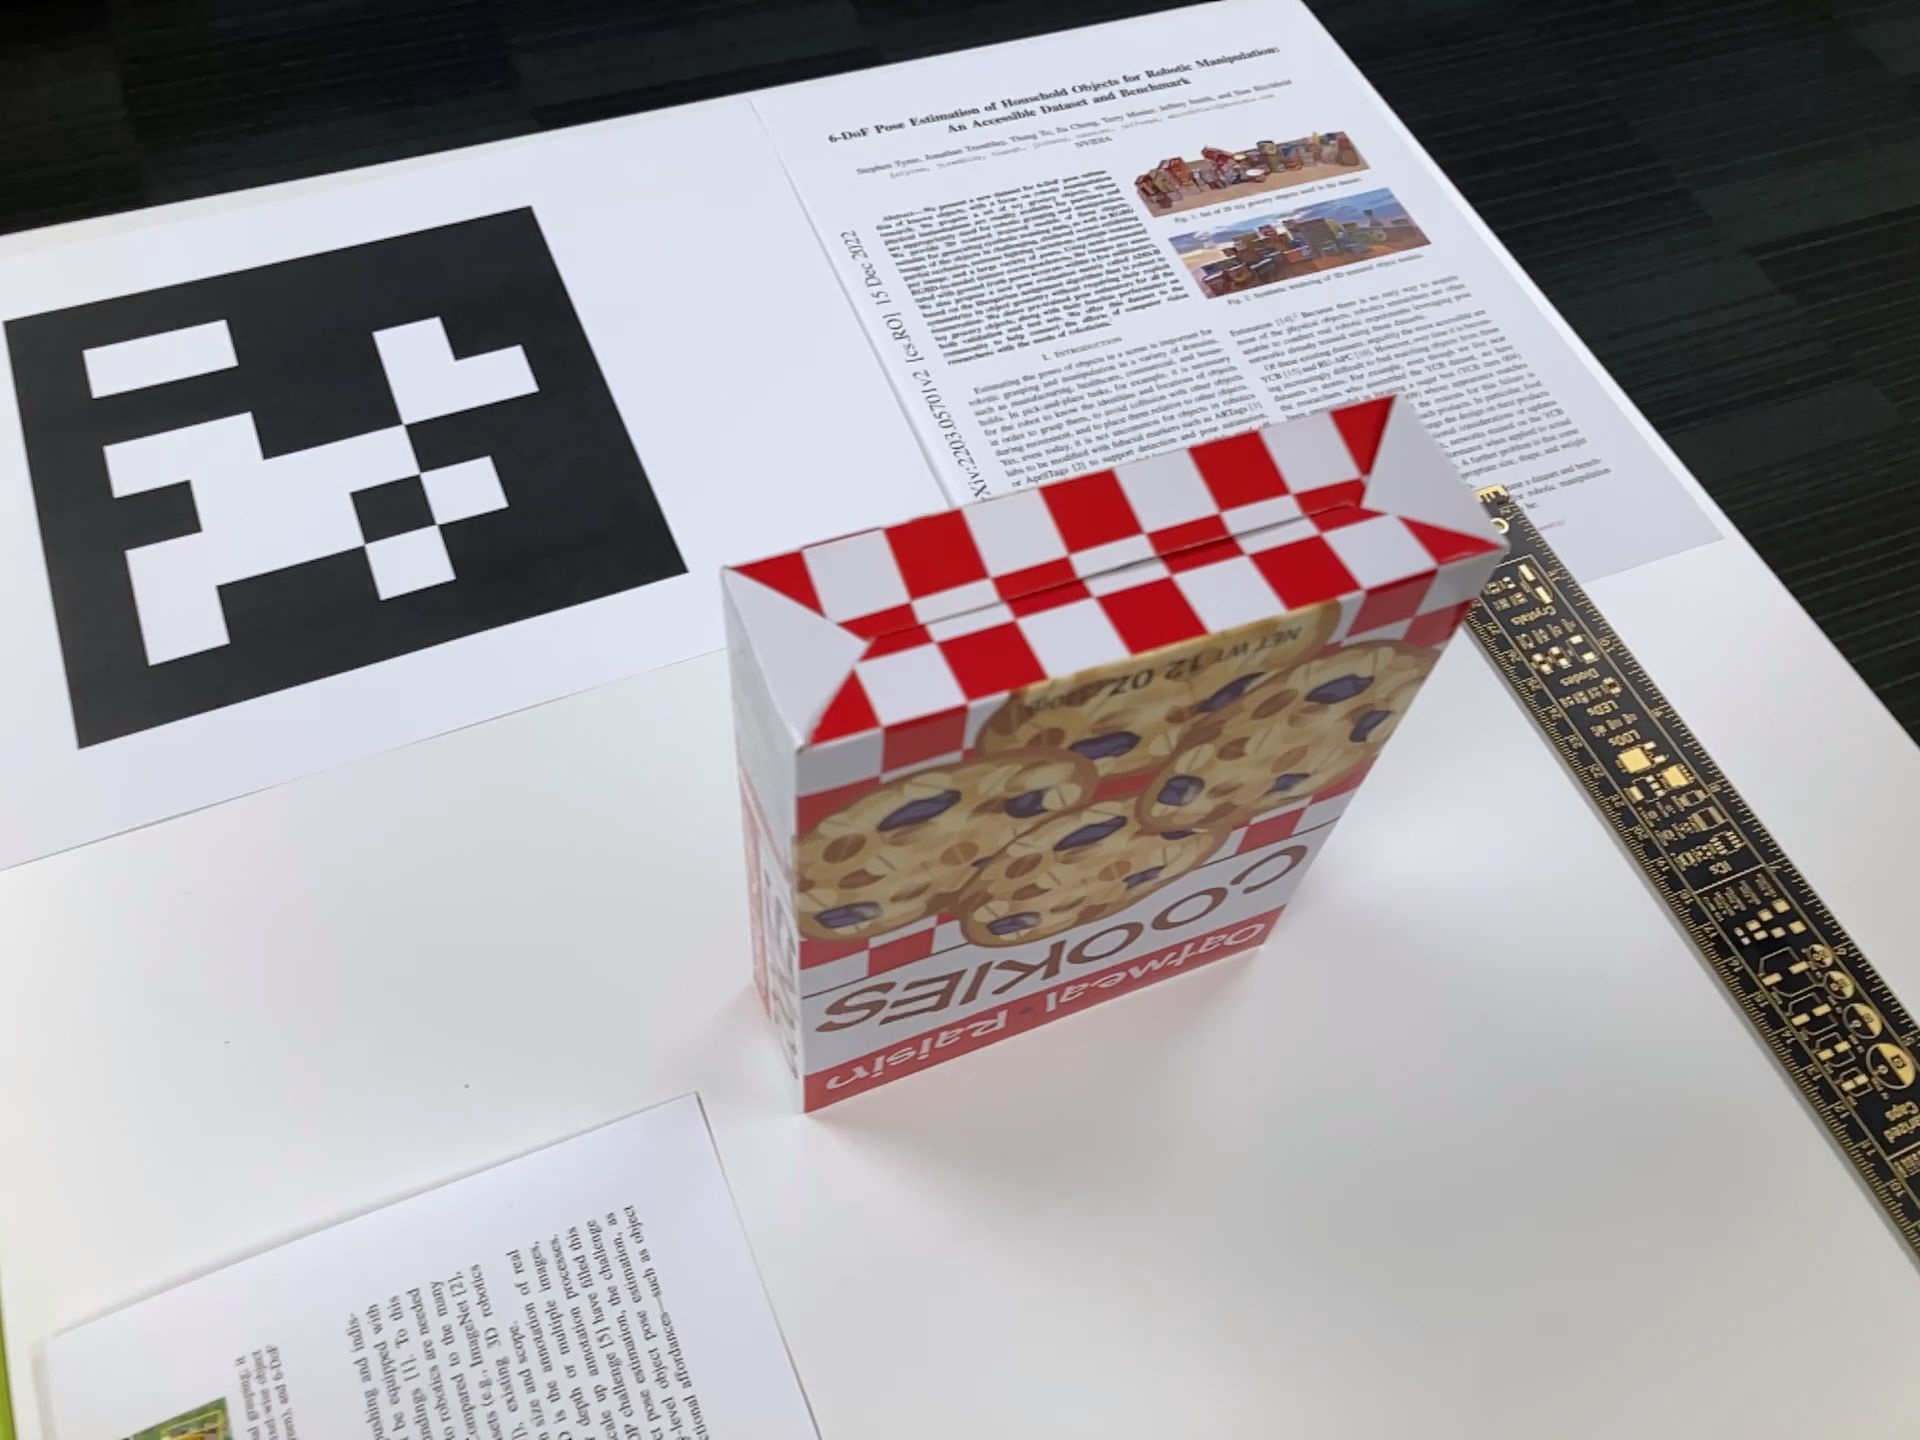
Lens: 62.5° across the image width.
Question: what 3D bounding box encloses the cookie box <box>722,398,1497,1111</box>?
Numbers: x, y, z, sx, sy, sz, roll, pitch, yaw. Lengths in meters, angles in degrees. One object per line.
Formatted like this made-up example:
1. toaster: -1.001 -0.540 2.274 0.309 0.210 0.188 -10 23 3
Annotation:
1. cookie box: 0.019 0.017 0.324 0.123 0.167 0.040 -17 61 -14
